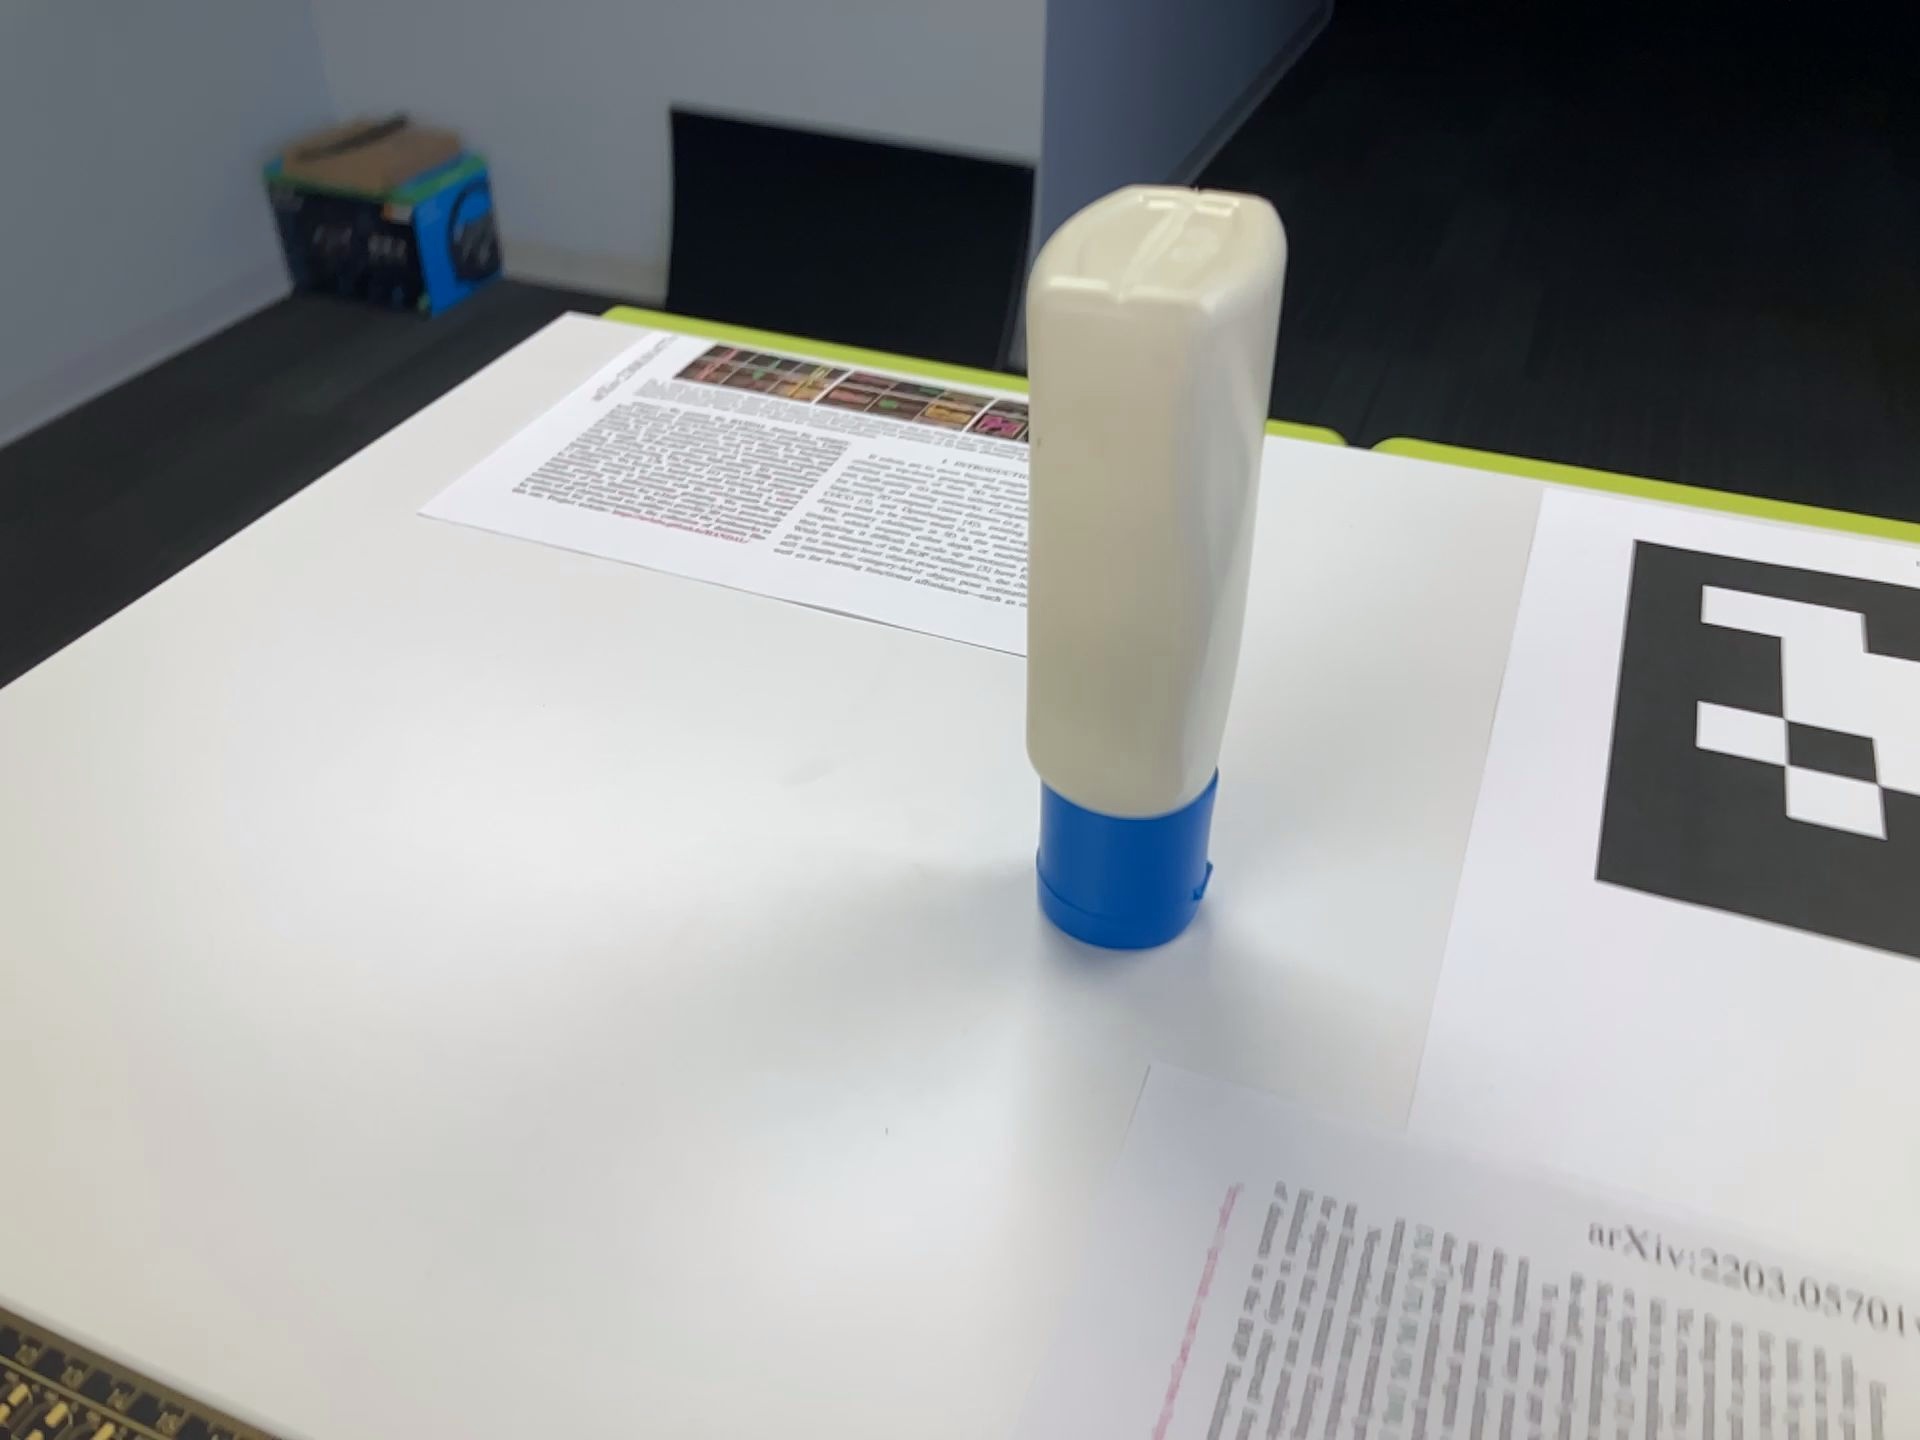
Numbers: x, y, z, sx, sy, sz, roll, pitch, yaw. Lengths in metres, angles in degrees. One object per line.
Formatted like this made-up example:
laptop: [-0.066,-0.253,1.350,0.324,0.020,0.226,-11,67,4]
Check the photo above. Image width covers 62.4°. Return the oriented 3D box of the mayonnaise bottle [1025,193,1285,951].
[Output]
mayonnaise bottle: [0.034,-0.020,0.309,0.041,0.148,0.065,12,38,17]
